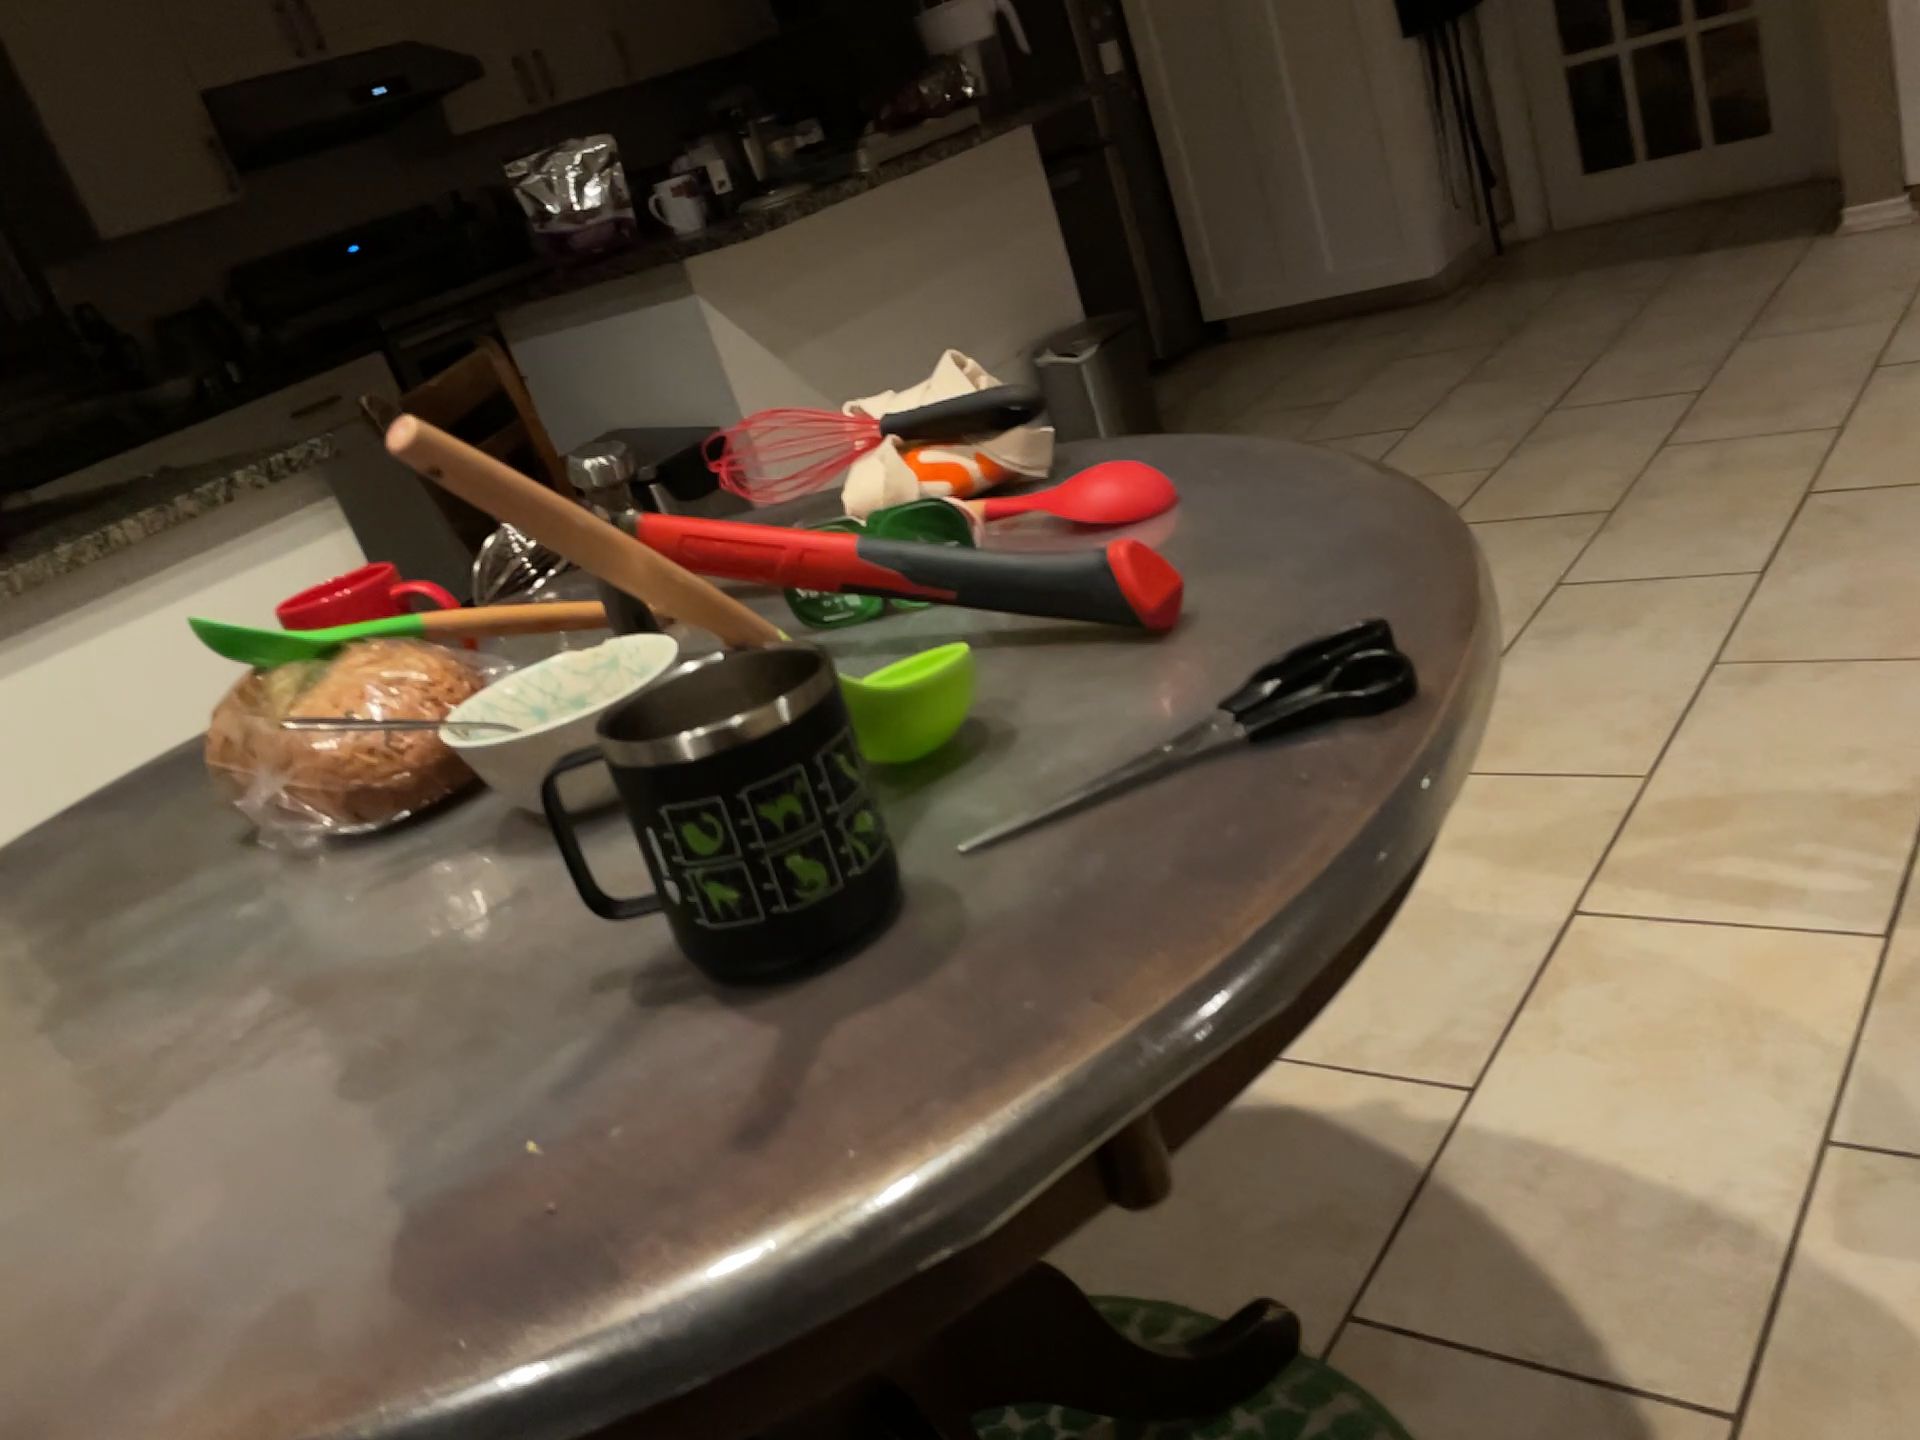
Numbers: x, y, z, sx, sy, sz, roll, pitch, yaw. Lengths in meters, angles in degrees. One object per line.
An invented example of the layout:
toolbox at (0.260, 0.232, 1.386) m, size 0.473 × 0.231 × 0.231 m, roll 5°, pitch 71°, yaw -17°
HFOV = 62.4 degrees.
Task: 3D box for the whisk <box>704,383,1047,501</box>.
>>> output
whisk at (-0.067, -0.208, 1.148) m, size 0.296 × 0.073 × 0.073 m, roll -5°, pitch 24°, yaw 32°

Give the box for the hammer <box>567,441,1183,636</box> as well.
hammer at (-0.057, -0.071, 0.872) m, size 0.387 × 0.143 × 0.038 m, roll 10°, pitch 35°, yaw 32°

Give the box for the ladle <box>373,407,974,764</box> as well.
ladle at (-0.093, -0.049, 0.608) m, size 0.078 × 0.319 × 0.062 m, roll -22°, pitch 61°, yaw 24°

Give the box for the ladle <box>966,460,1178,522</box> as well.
ladle at (0.001, -0.135, 1.049) m, size 0.316 × 0.031 × 0.069 m, roll -4°, pitch 25°, yaw 39°

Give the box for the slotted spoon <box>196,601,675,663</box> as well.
slotted spoon at (-0.305, -0.060, 0.978) m, size 0.313 × 0.031 × 0.070 m, roll -8°, pitch 13°, yaw -44°

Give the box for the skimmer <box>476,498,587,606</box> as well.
skimmer at (-0.225, -0.104, 1.160) m, size 0.364 × 0.090 × 0.127 m, roll 13°, pitch 45°, yaw 37°
